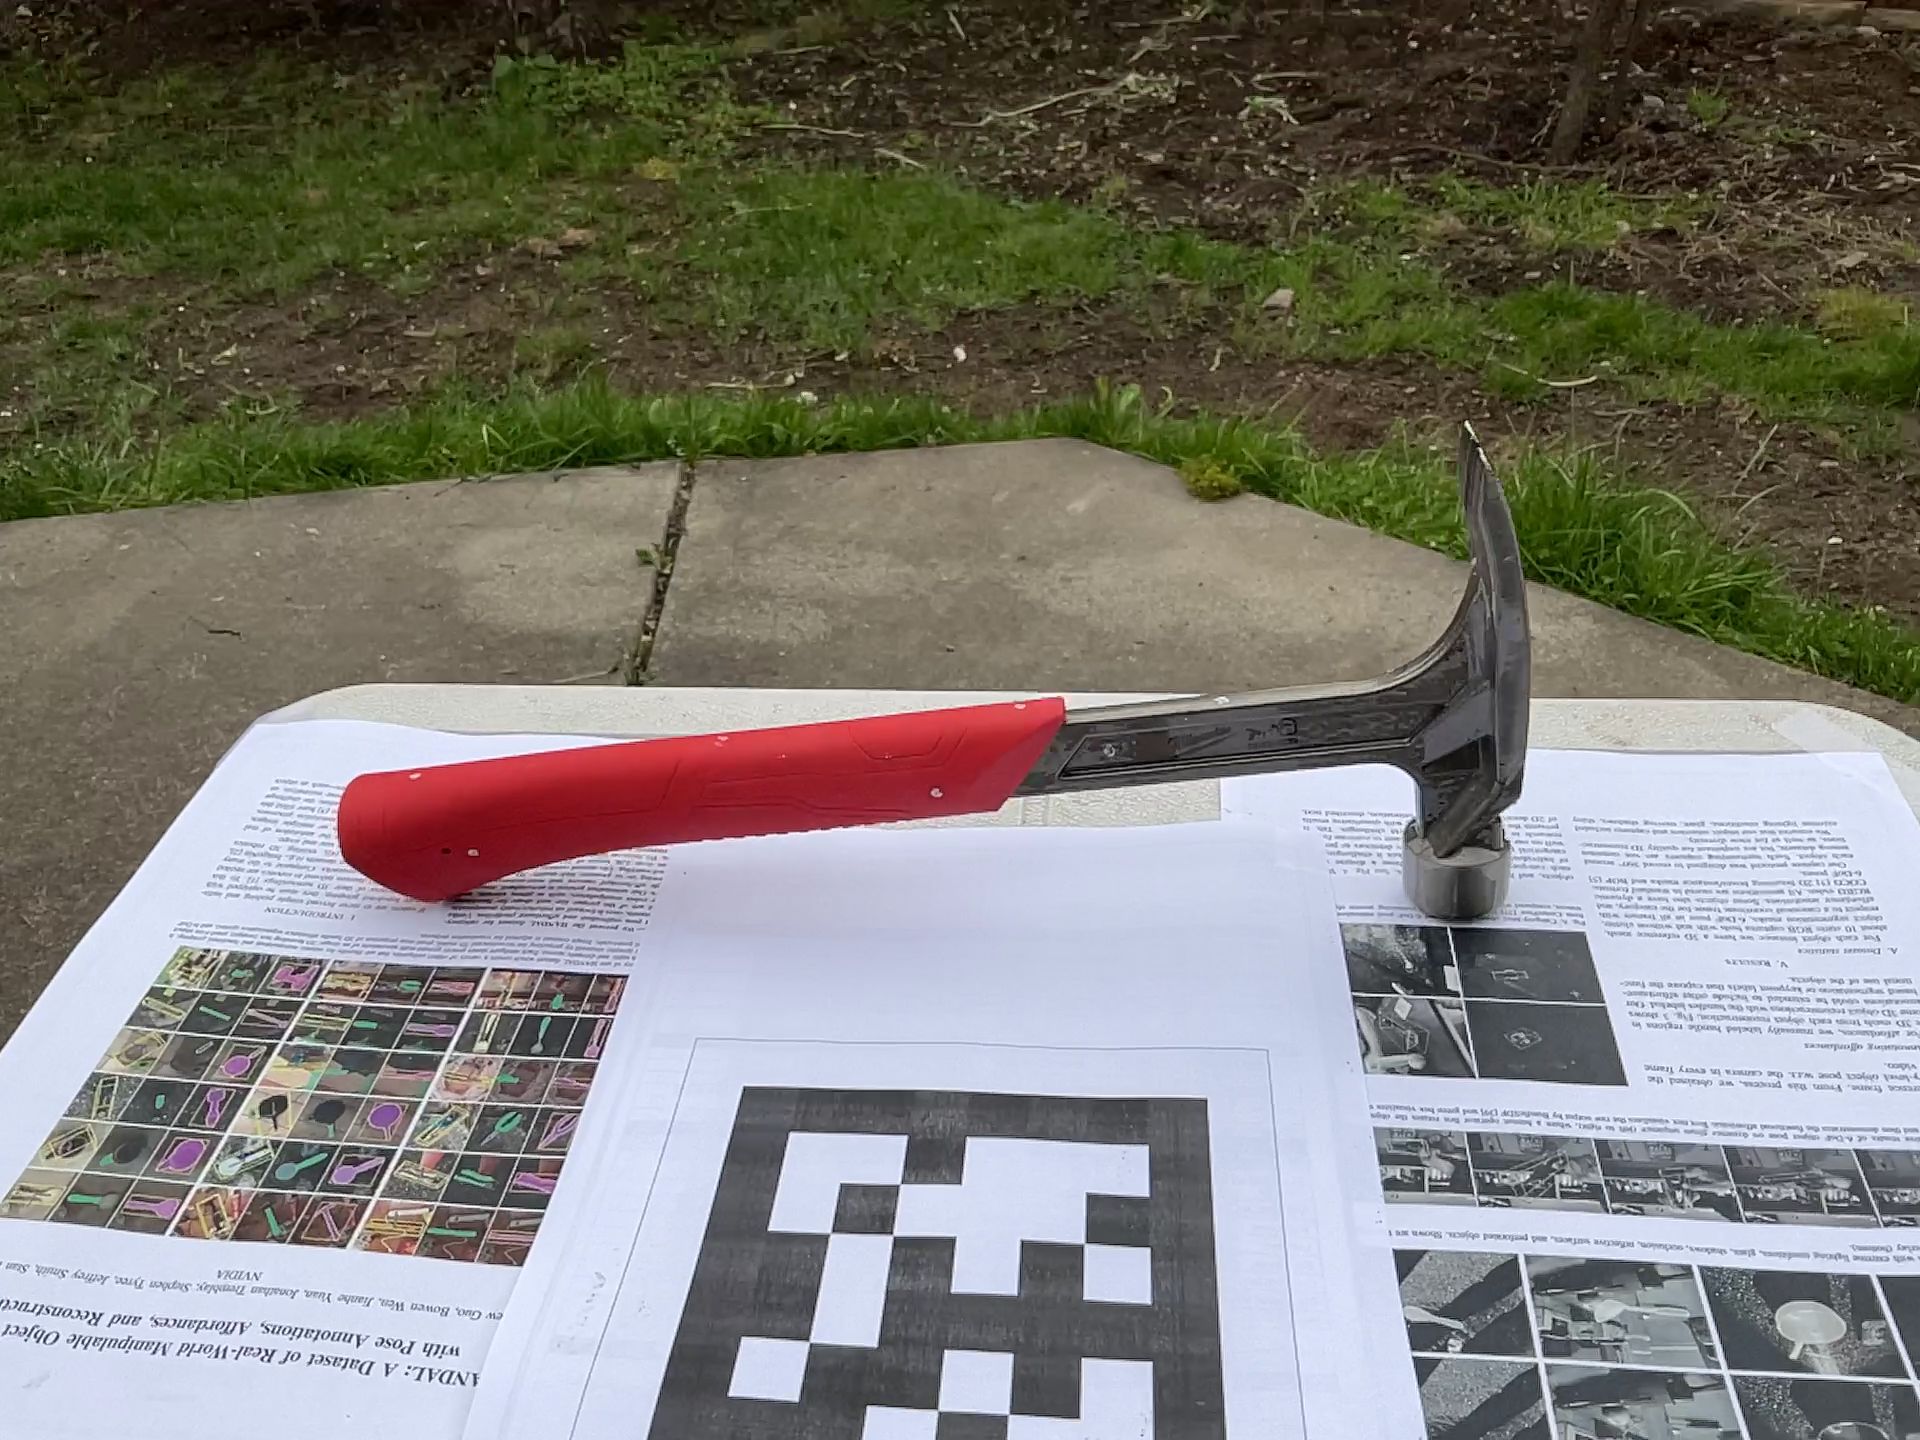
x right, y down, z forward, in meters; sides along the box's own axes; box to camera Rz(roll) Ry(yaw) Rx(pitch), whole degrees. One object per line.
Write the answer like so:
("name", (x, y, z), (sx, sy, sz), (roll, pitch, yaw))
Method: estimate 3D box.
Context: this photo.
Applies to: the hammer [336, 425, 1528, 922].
("hammer", (-0.017, 0.007, 0.483), (0.359, 0.149, 0.037), (-6, 30, 8))
